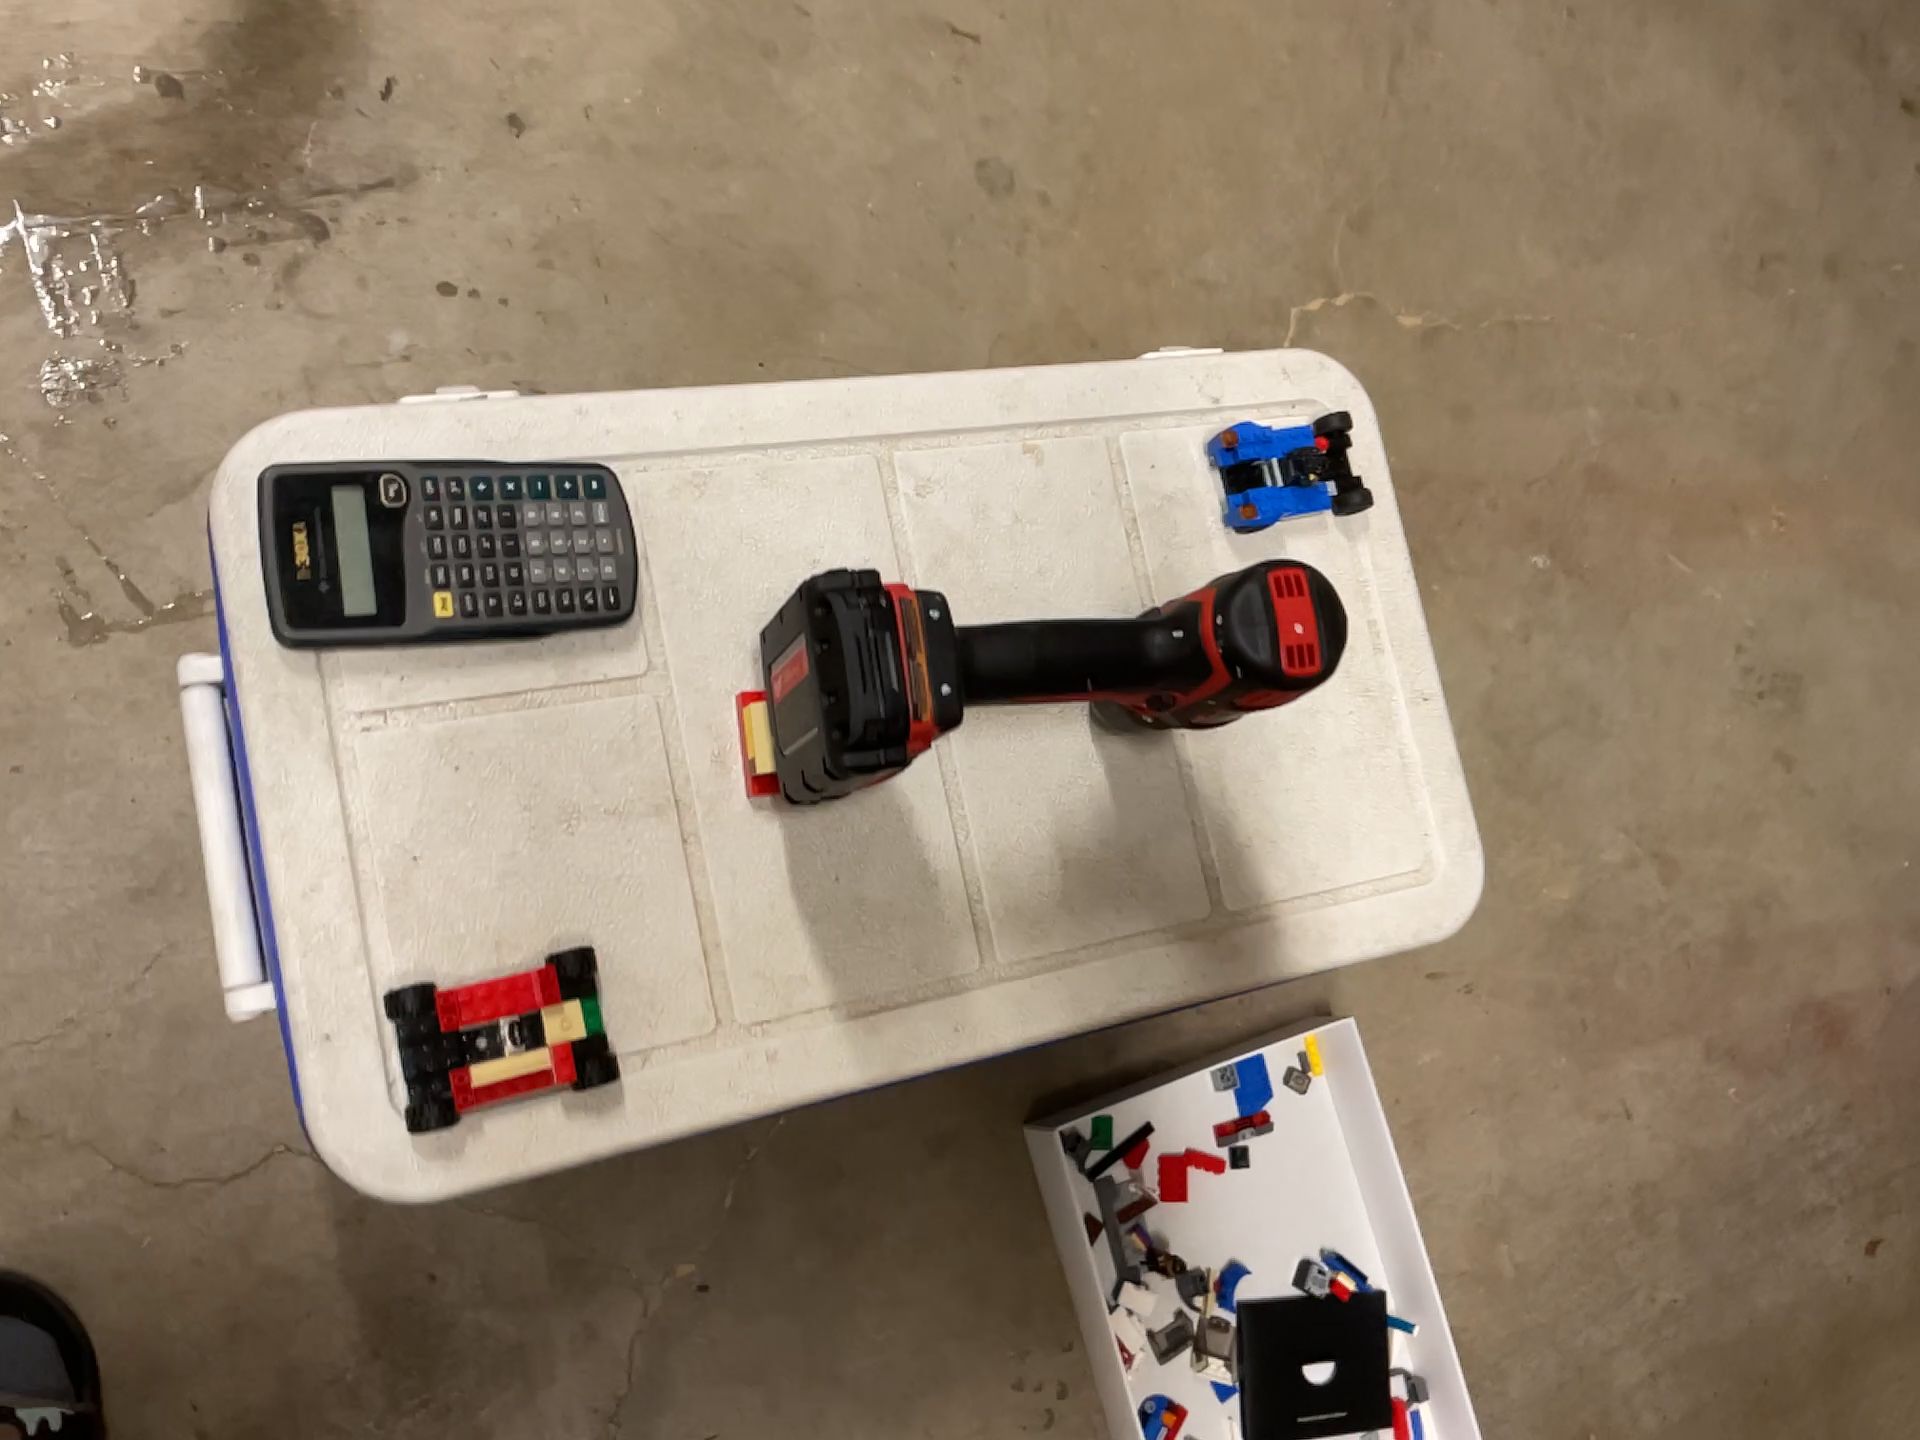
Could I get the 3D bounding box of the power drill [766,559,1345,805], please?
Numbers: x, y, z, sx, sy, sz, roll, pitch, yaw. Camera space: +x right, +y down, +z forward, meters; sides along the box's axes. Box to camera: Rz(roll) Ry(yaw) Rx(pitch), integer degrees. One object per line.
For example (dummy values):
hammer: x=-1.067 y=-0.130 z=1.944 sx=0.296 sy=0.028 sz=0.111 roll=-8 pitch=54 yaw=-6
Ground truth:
power drill: x=0.033 y=-0.017 z=0.709 sx=0.227 sy=0.187 sz=0.080 roll=-6 pitch=81 yaw=-18
